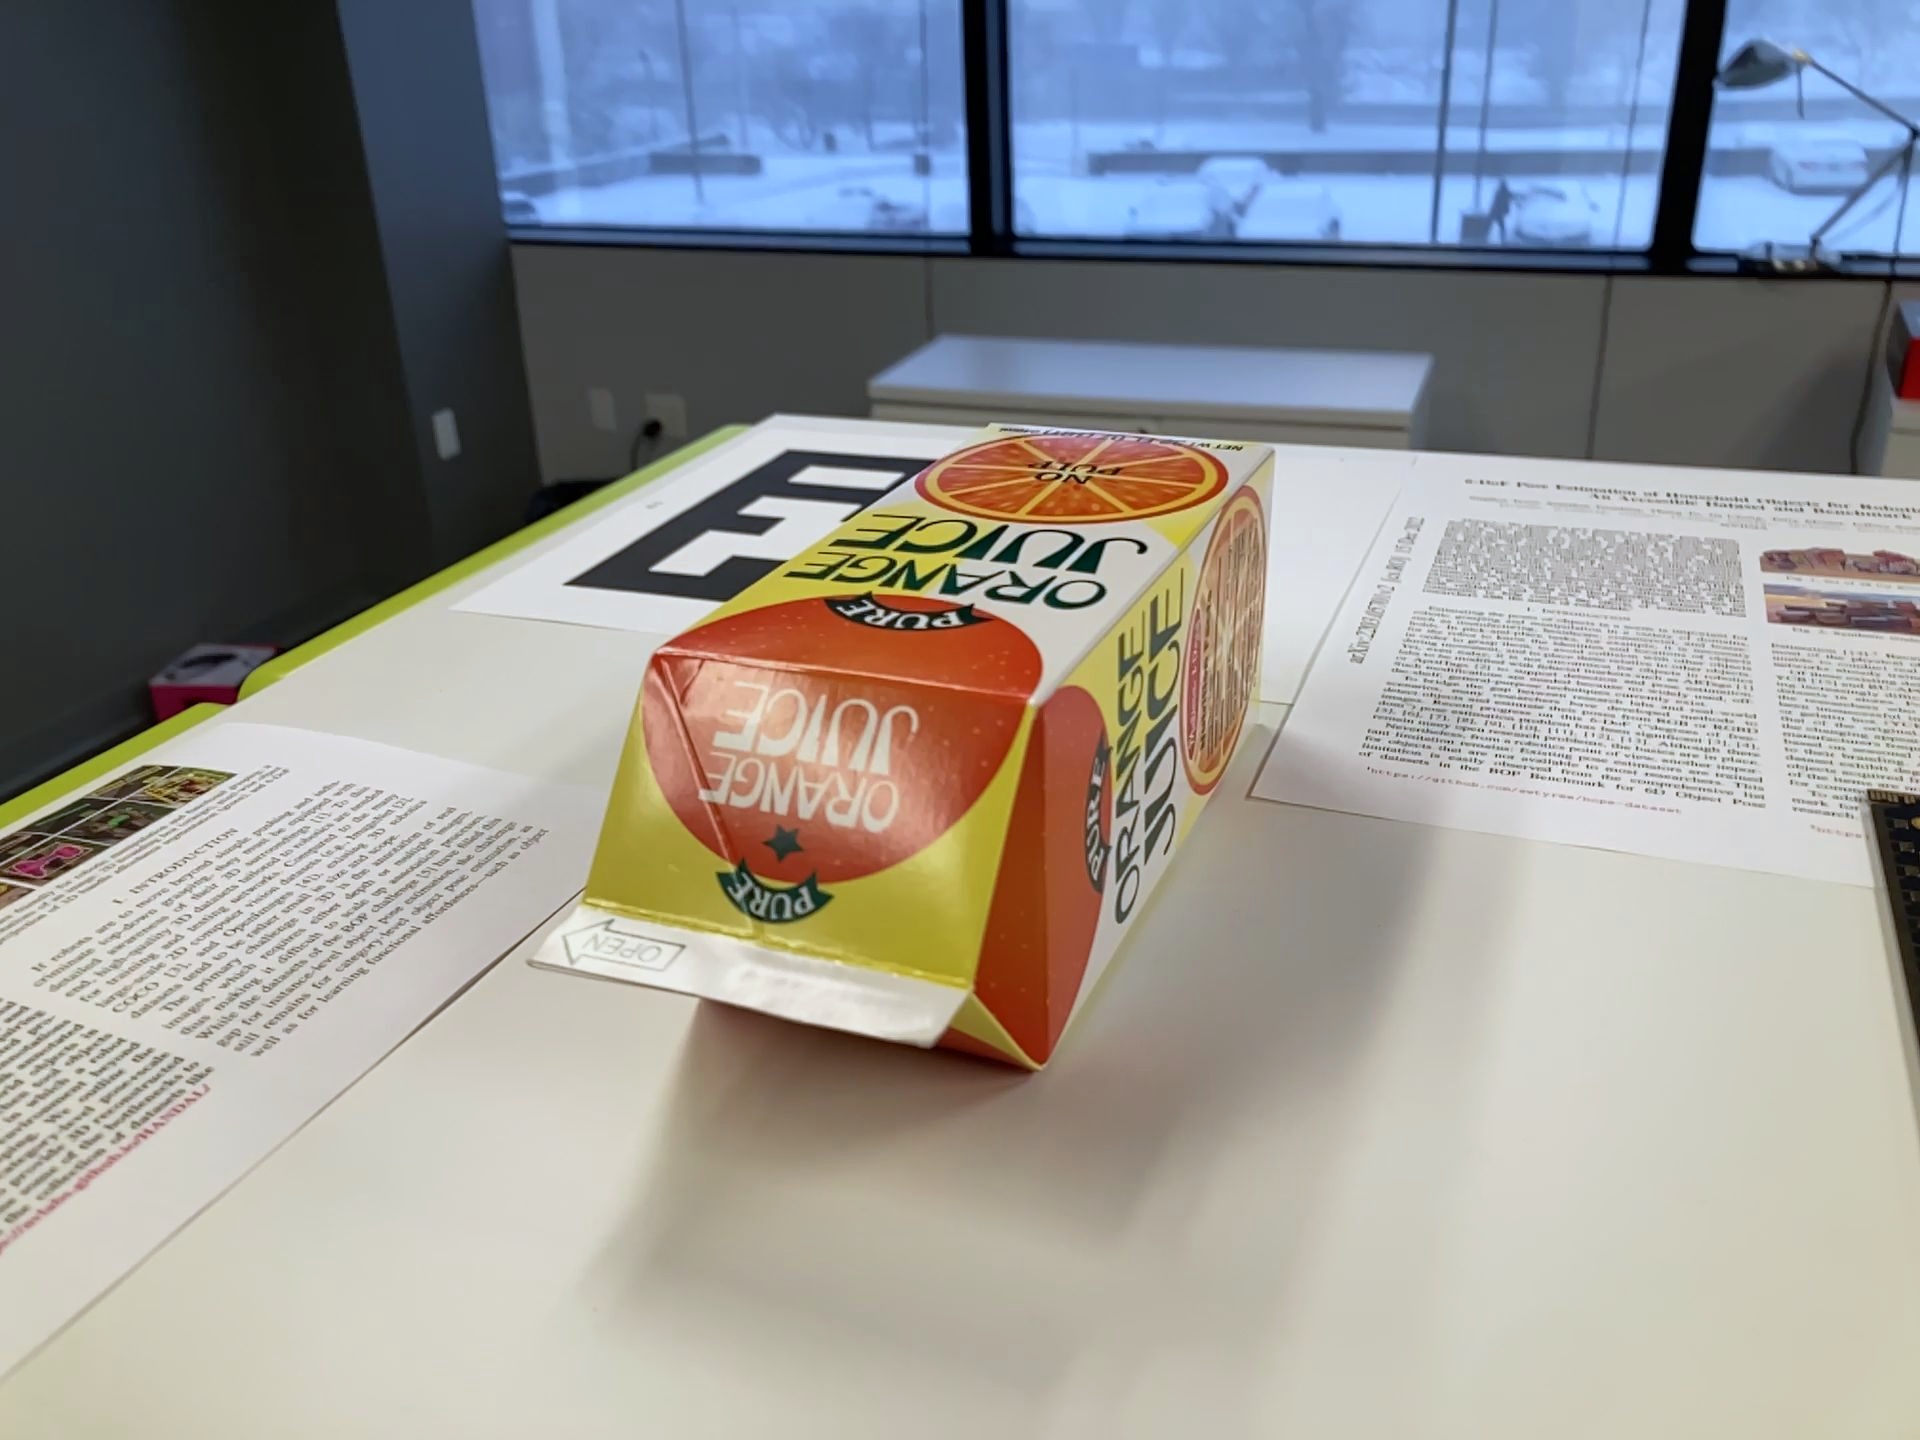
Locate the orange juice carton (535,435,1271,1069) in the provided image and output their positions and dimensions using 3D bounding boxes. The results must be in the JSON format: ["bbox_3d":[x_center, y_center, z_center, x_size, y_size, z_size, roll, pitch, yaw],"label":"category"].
[{"bbox_3d":[0.003,0.003,0.316,0.072,0.073,0.192,9,27,22],"label":"orange juice carton"}]
